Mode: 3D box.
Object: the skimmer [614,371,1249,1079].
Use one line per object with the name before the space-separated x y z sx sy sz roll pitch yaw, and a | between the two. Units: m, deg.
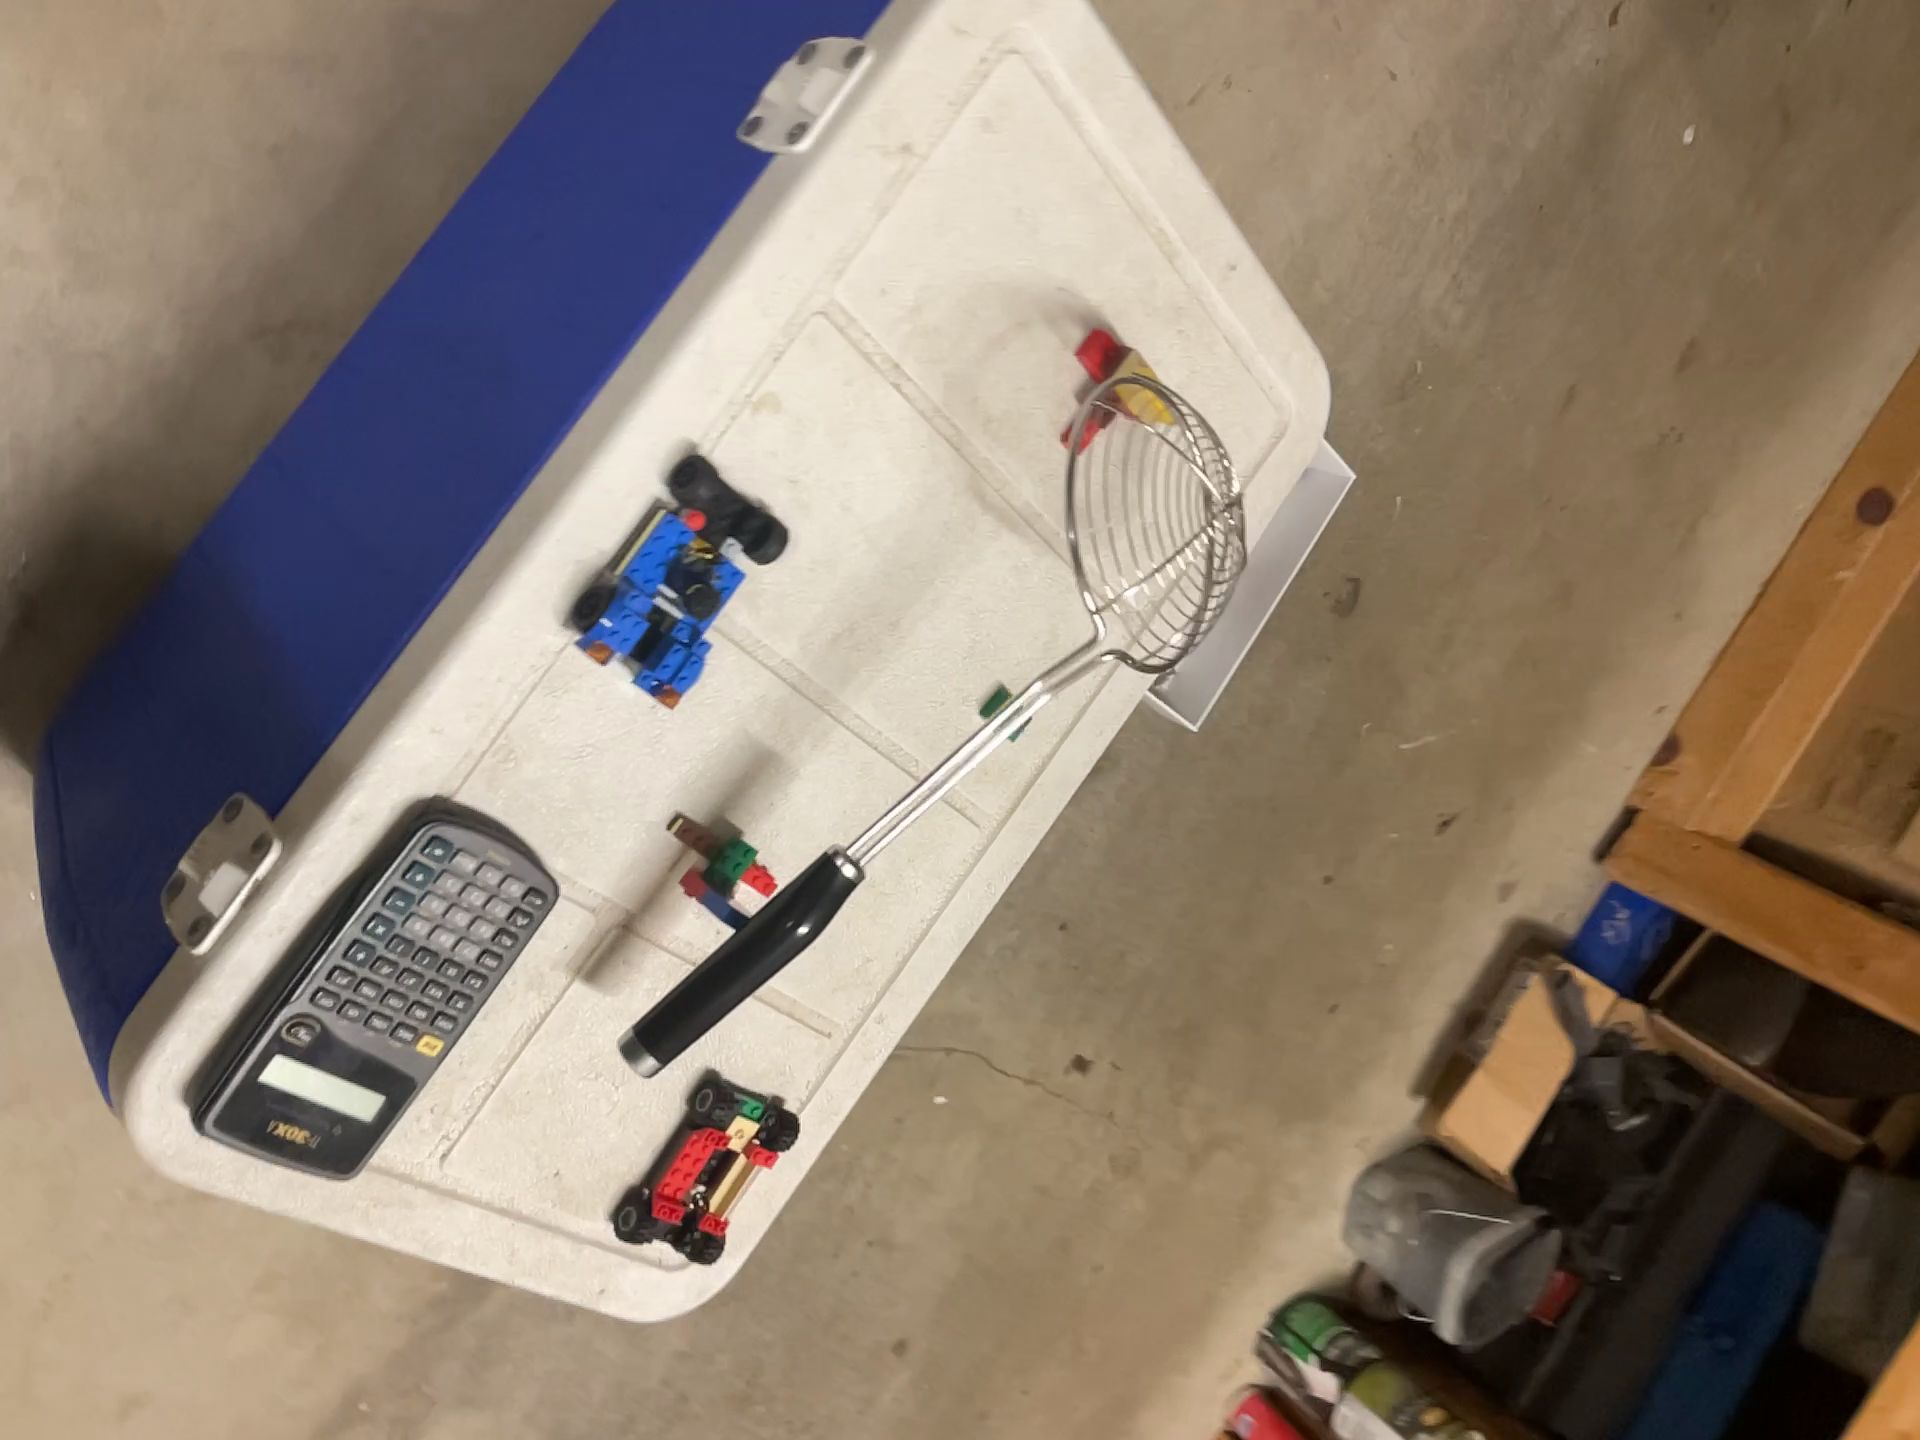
skimmer | -0.015 0.005 0.685 0.363 0.090 0.127 -42 132 1
